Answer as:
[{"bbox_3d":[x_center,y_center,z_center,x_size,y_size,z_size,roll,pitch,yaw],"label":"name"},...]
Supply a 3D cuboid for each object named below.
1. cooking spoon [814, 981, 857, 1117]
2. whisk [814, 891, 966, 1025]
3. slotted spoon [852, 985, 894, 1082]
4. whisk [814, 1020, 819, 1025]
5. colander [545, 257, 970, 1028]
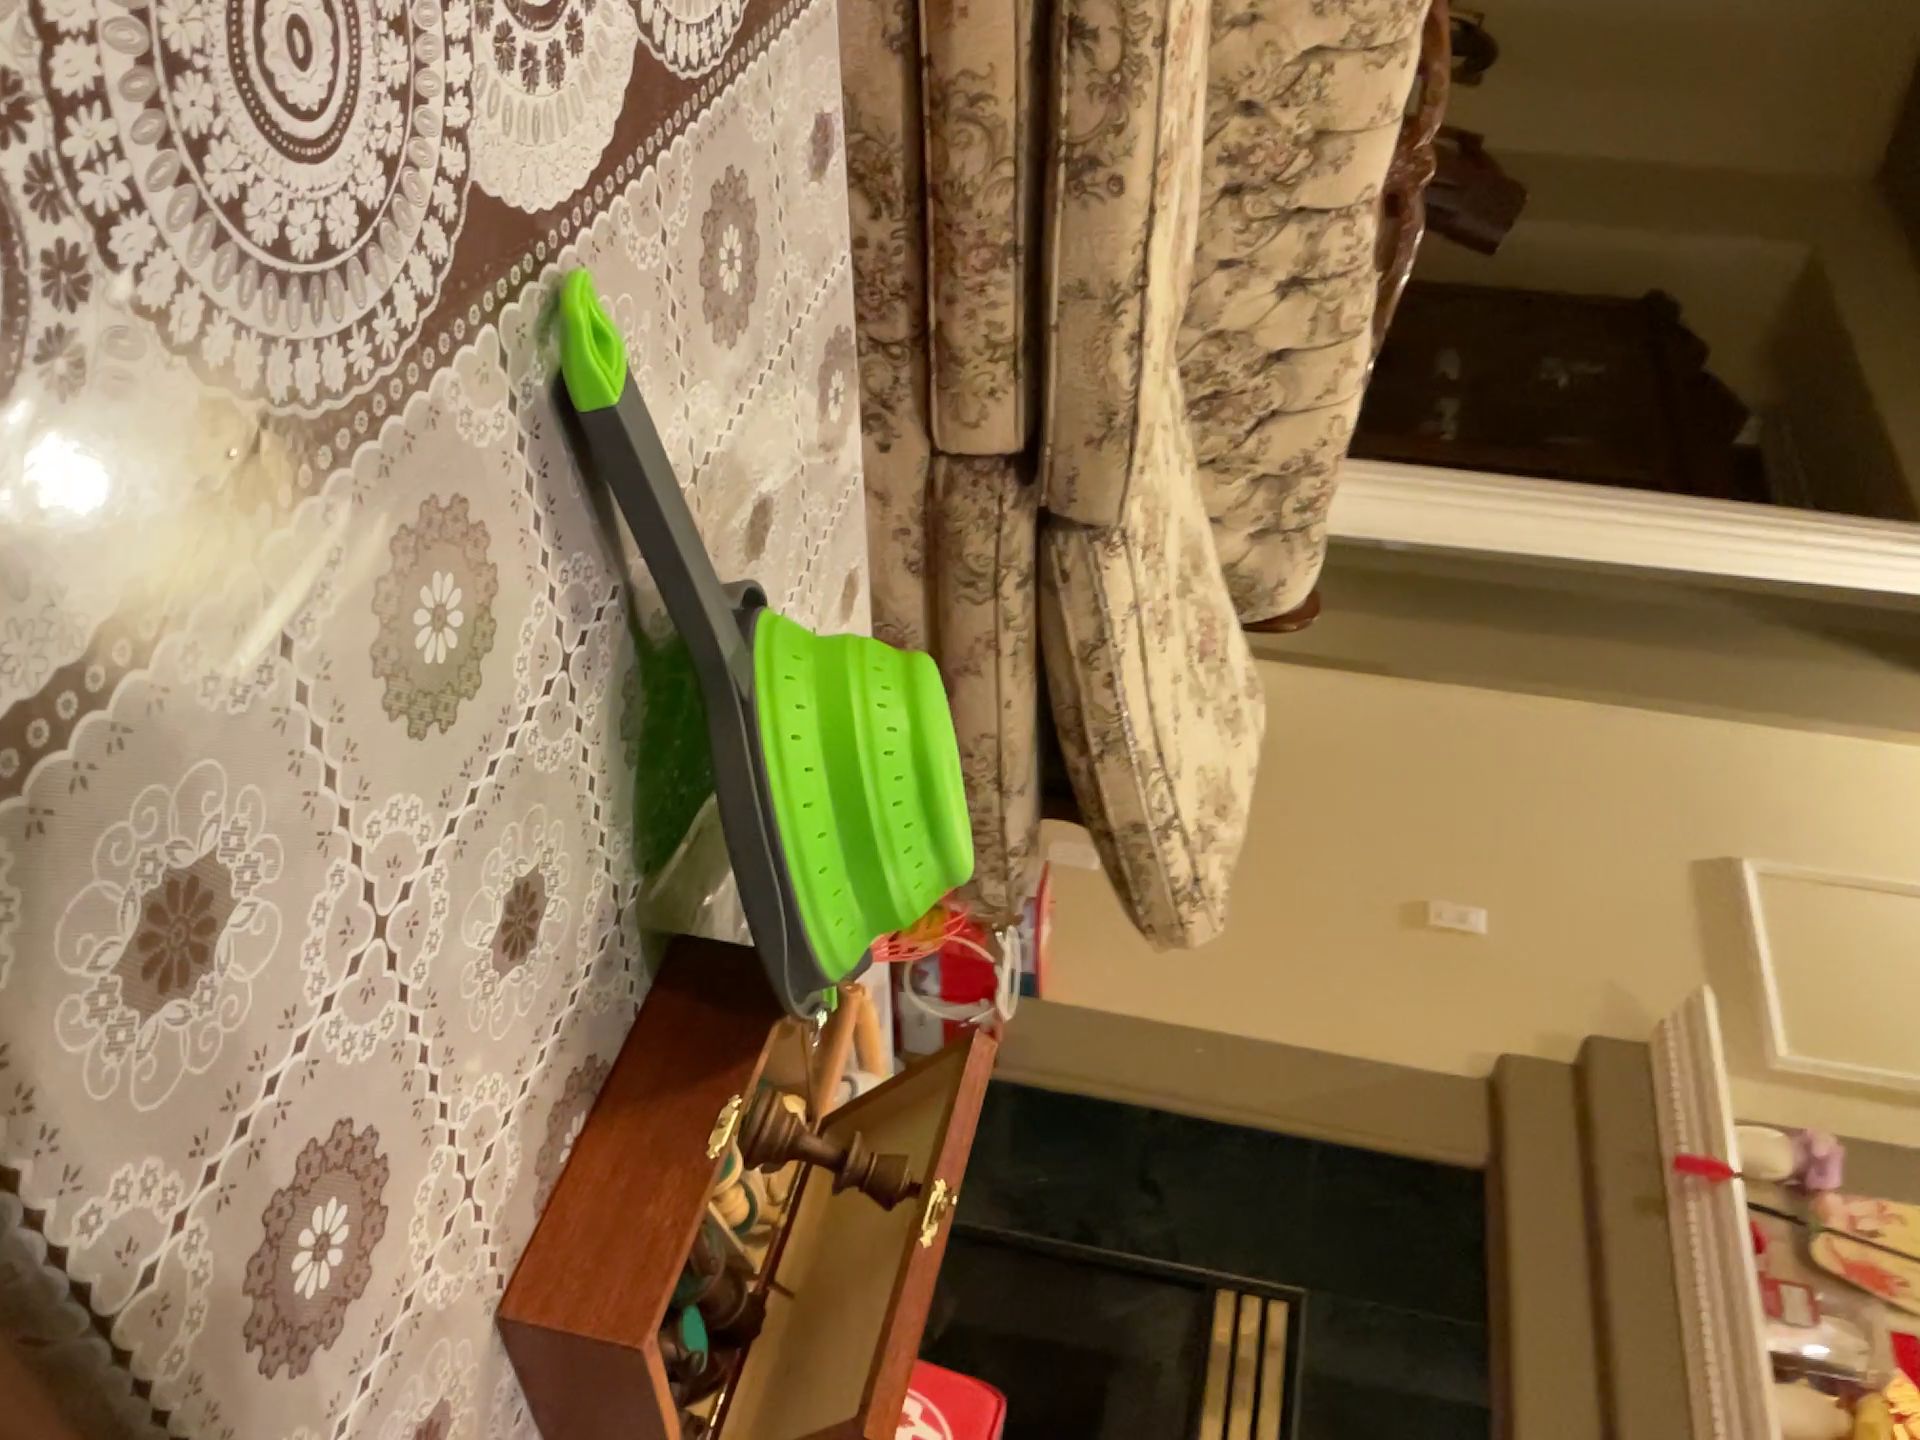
[{"bbox_3d":[-0.094,0.270,0.896,0.069,0.017,0.318,-67,173,-60],"label":"cooking spoon"},{"bbox_3d":[-0.060,0.150,1.044,0.296,0.073,0.073,-31,135,-69],"label":"whisk"},{"bbox_3d":[-0.061,0.250,1.127,0.313,0.031,0.070,86,16,-59],"label":"slotted spoon"},{"bbox_3d":[-0.089,0.092,0.894,0.058,0.059,0.247,-28,-138,48],"label":"whisk"},{"bbox_3d":[-0.063,-0.023,0.658,0.396,0.094,0.205,75,4,-49],"label":"colander"}]
